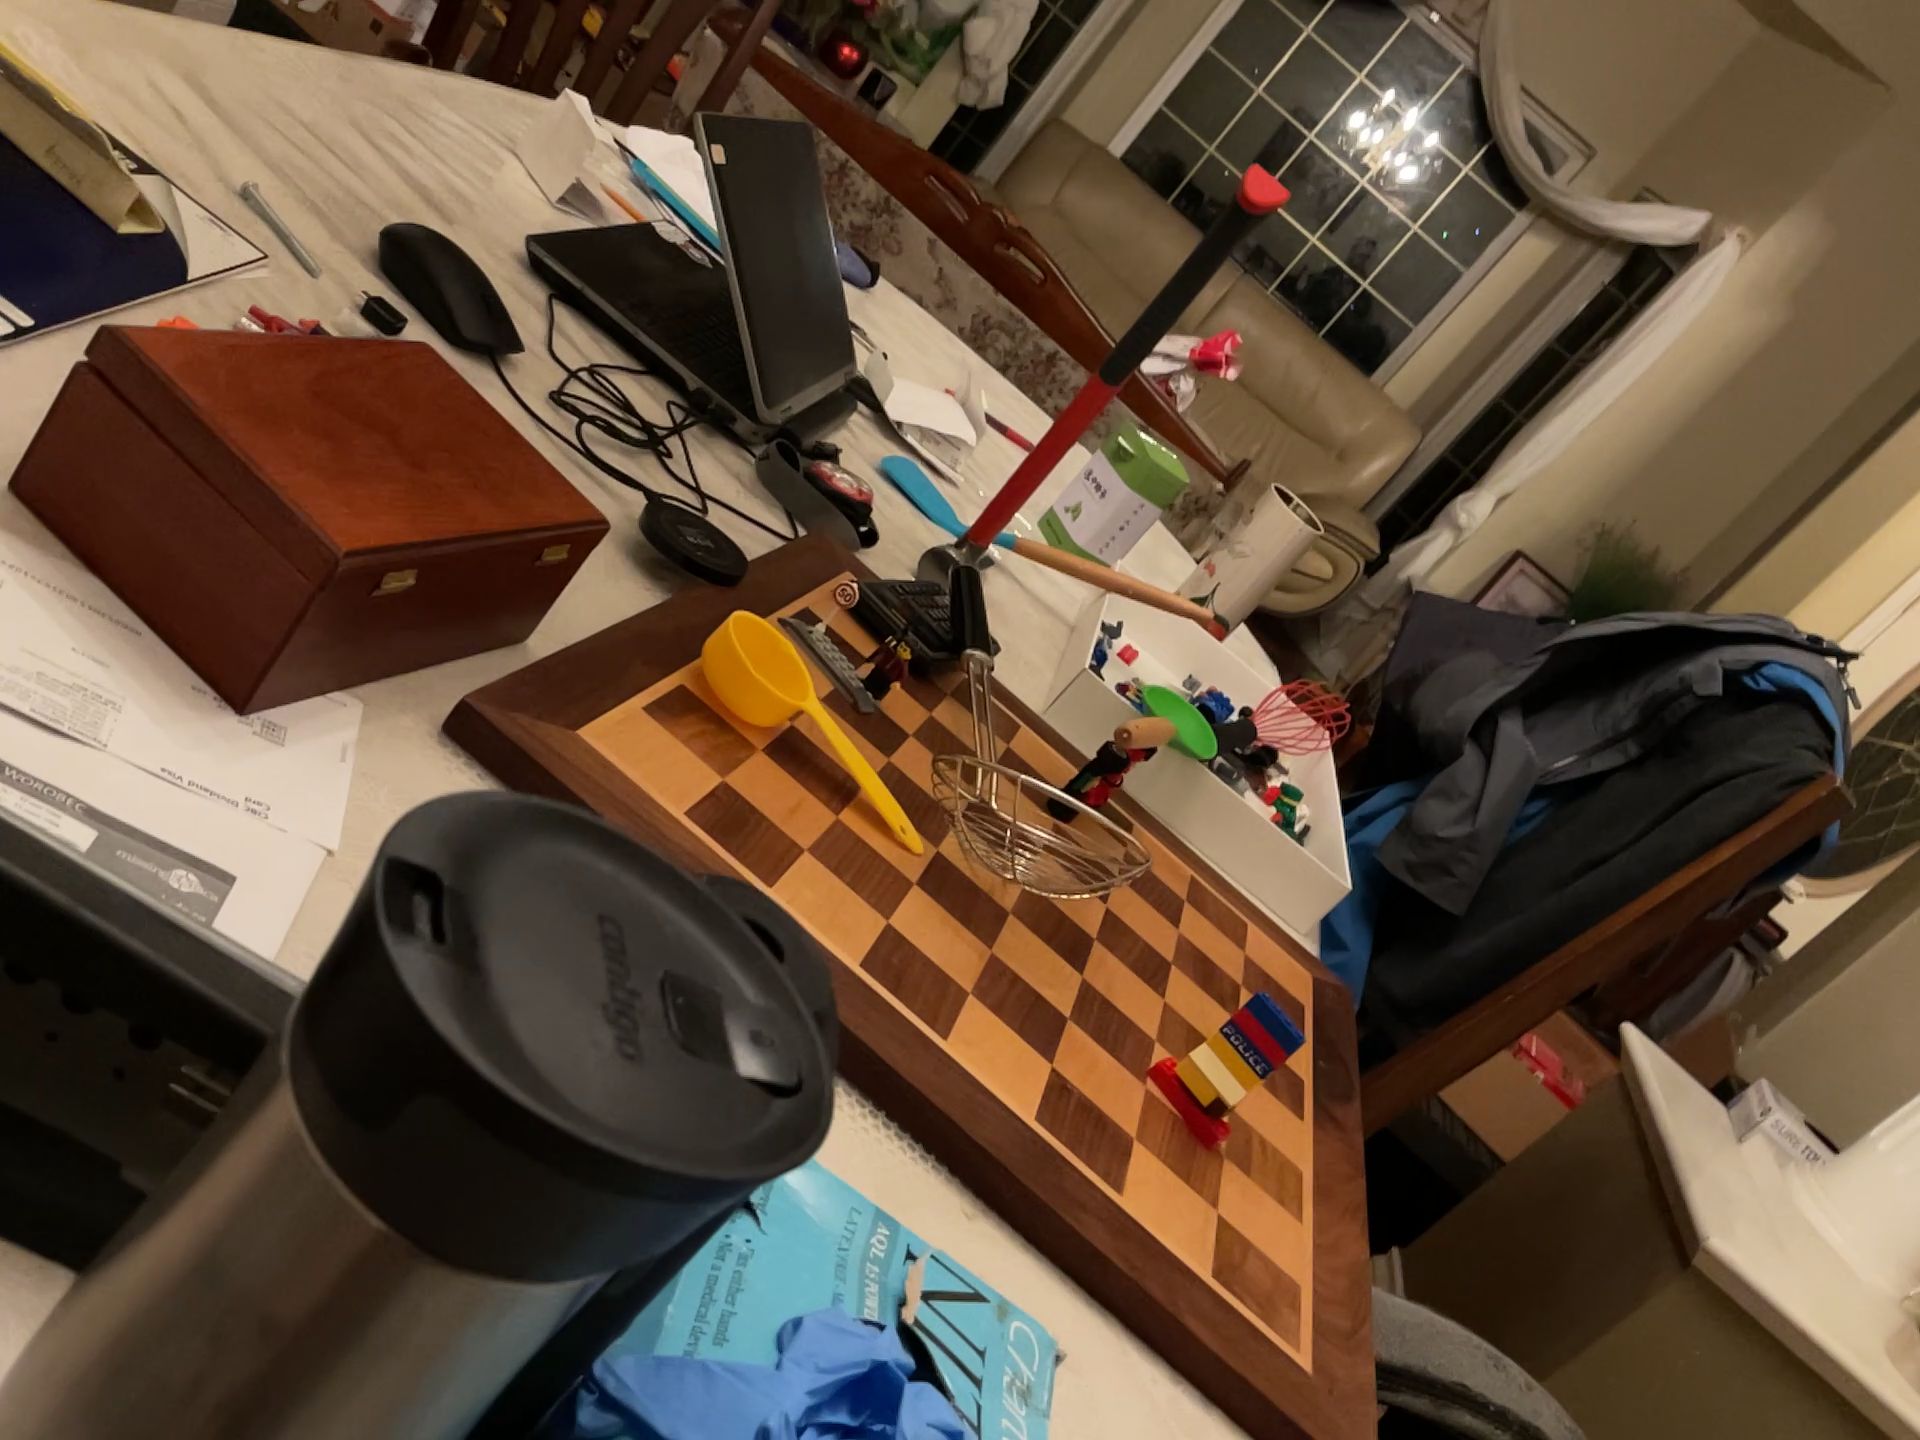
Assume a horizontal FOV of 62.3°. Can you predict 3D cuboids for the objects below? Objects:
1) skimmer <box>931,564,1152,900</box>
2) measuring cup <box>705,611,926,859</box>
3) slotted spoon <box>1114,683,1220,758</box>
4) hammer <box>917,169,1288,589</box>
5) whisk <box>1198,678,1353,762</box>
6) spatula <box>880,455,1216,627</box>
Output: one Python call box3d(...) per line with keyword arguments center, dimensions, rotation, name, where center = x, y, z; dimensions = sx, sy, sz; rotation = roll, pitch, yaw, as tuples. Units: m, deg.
box3d(center=(0.033, -0.020, 0.945), dimensions=(0.127, 0.090, 0.363), rotation=(31, 26, -22), name="skimmer")
box3d(center=(-0.074, 0.014, 0.806), dimensions=(0.156, 0.029, 0.062), rotation=(53, 16, -5), name="measuring cup")
box3d(center=(0.128, 0.006, 1.028), dimensions=(0.070, 0.031, 0.313), rotation=(46, 11, 9), name="slotted spoon")
box3d(center=(0.110, -0.253, 1.225), dimensions=(0.038, 0.386, 0.143), rotation=(42, 20, 2), name="hammer")
box3d(center=(0.259, 0.009, 1.387), dimensions=(0.073, 0.073, 0.295), rotation=(32, 27, 33), name="whisk")
box3d(center=(0.076, -0.153, 1.375), dimensions=(0.318, 0.044, 0.082), rotation=(23, 16, 11), name="spatula")
